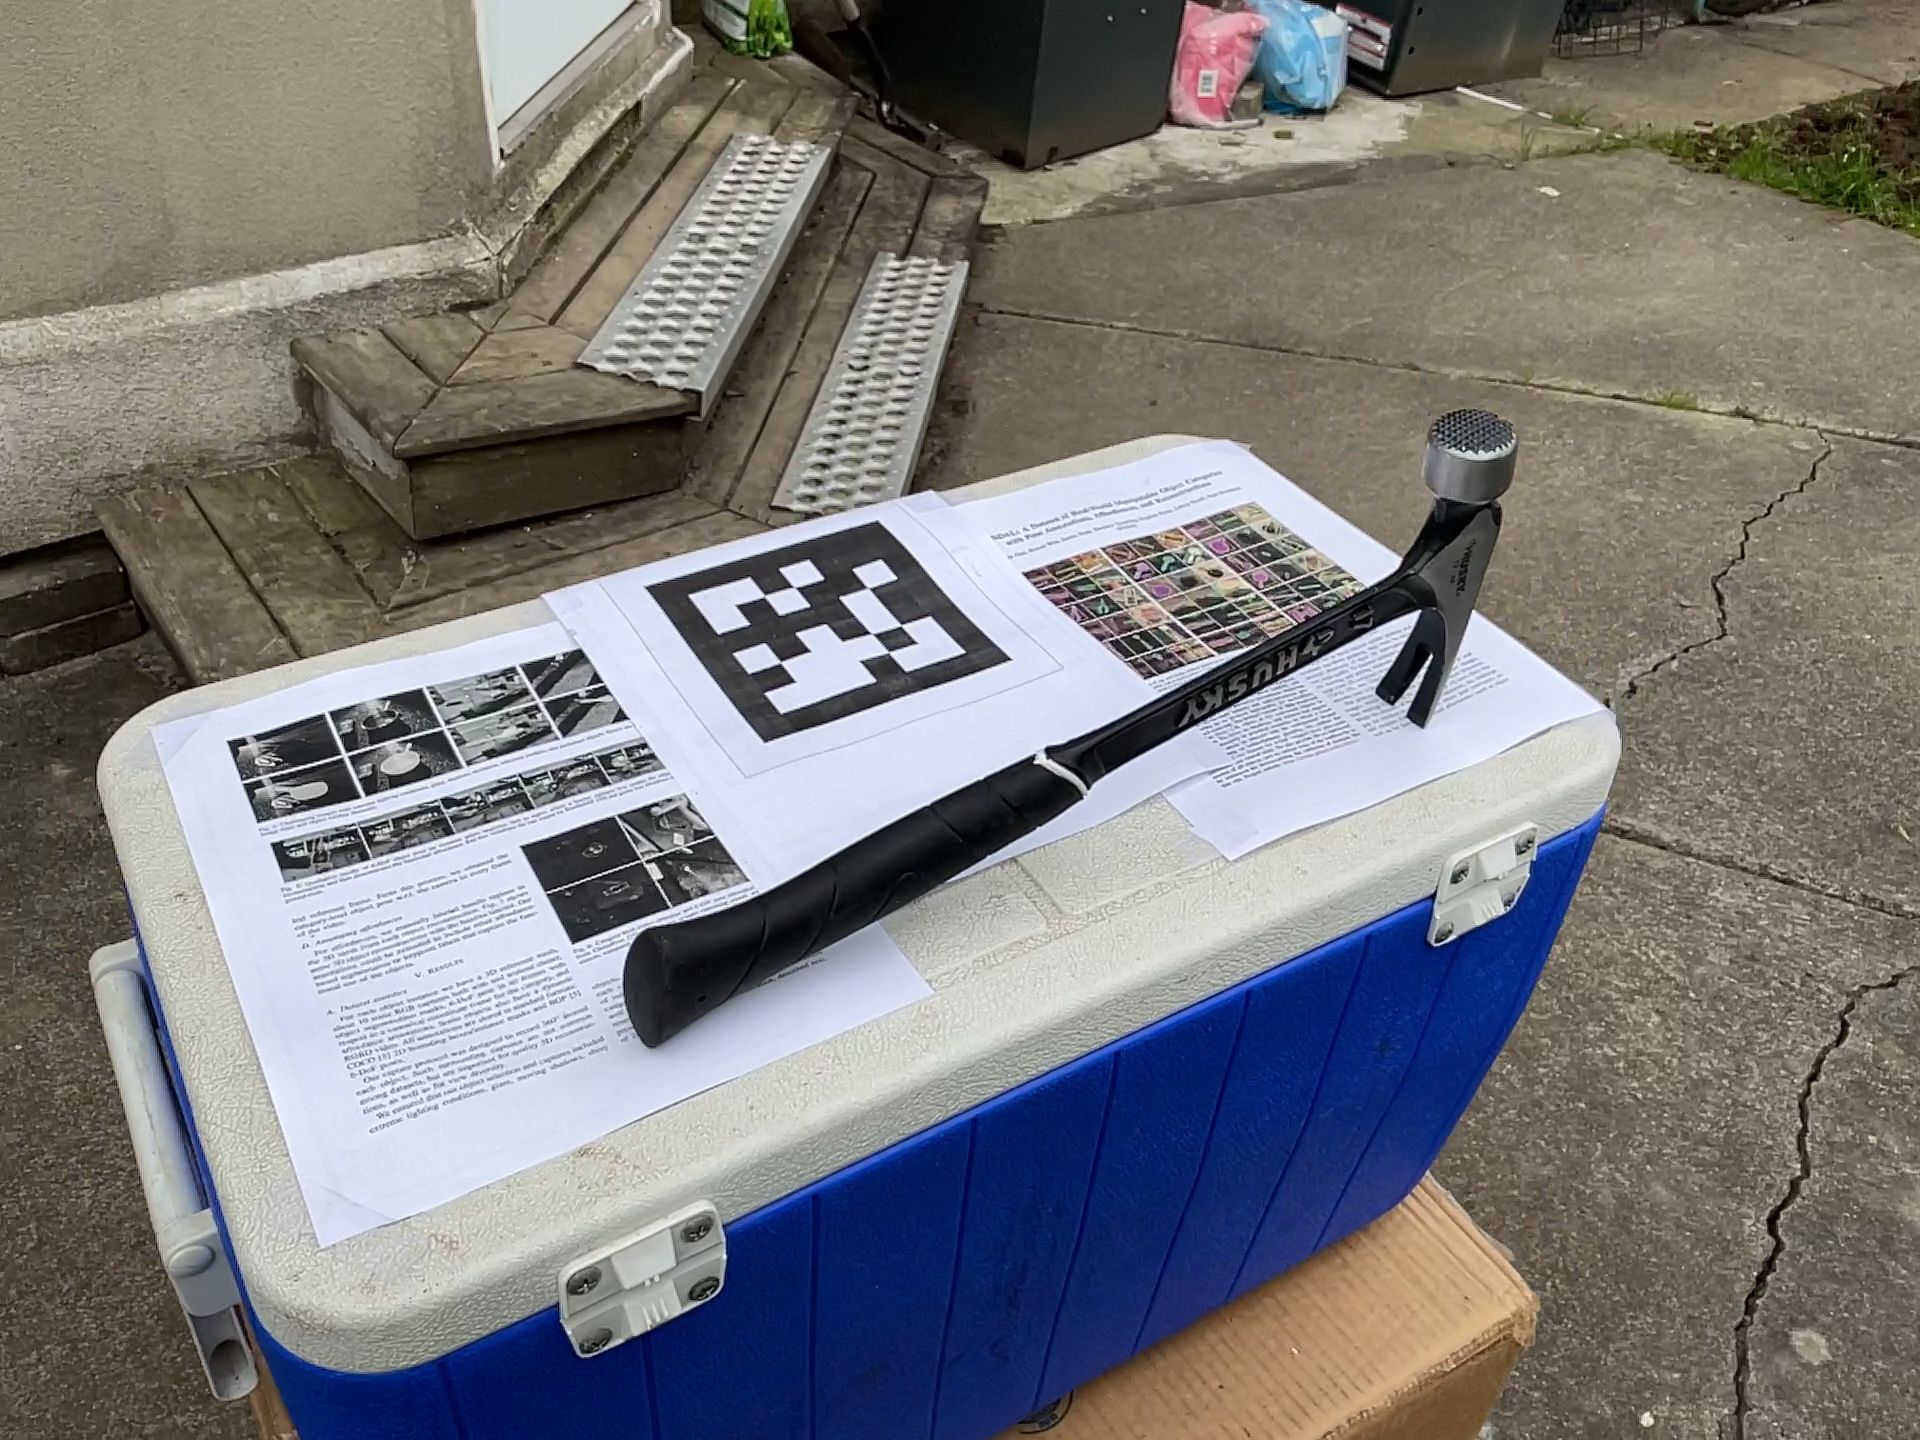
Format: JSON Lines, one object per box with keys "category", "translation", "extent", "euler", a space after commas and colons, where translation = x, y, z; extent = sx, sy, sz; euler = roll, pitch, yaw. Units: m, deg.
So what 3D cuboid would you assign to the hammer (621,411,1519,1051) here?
{"category": "hammer", "translation": [0.055, 0.016, 0.626], "extent": [0.409, 0.149, 0.036], "euler": [-27, 48, -20]}
